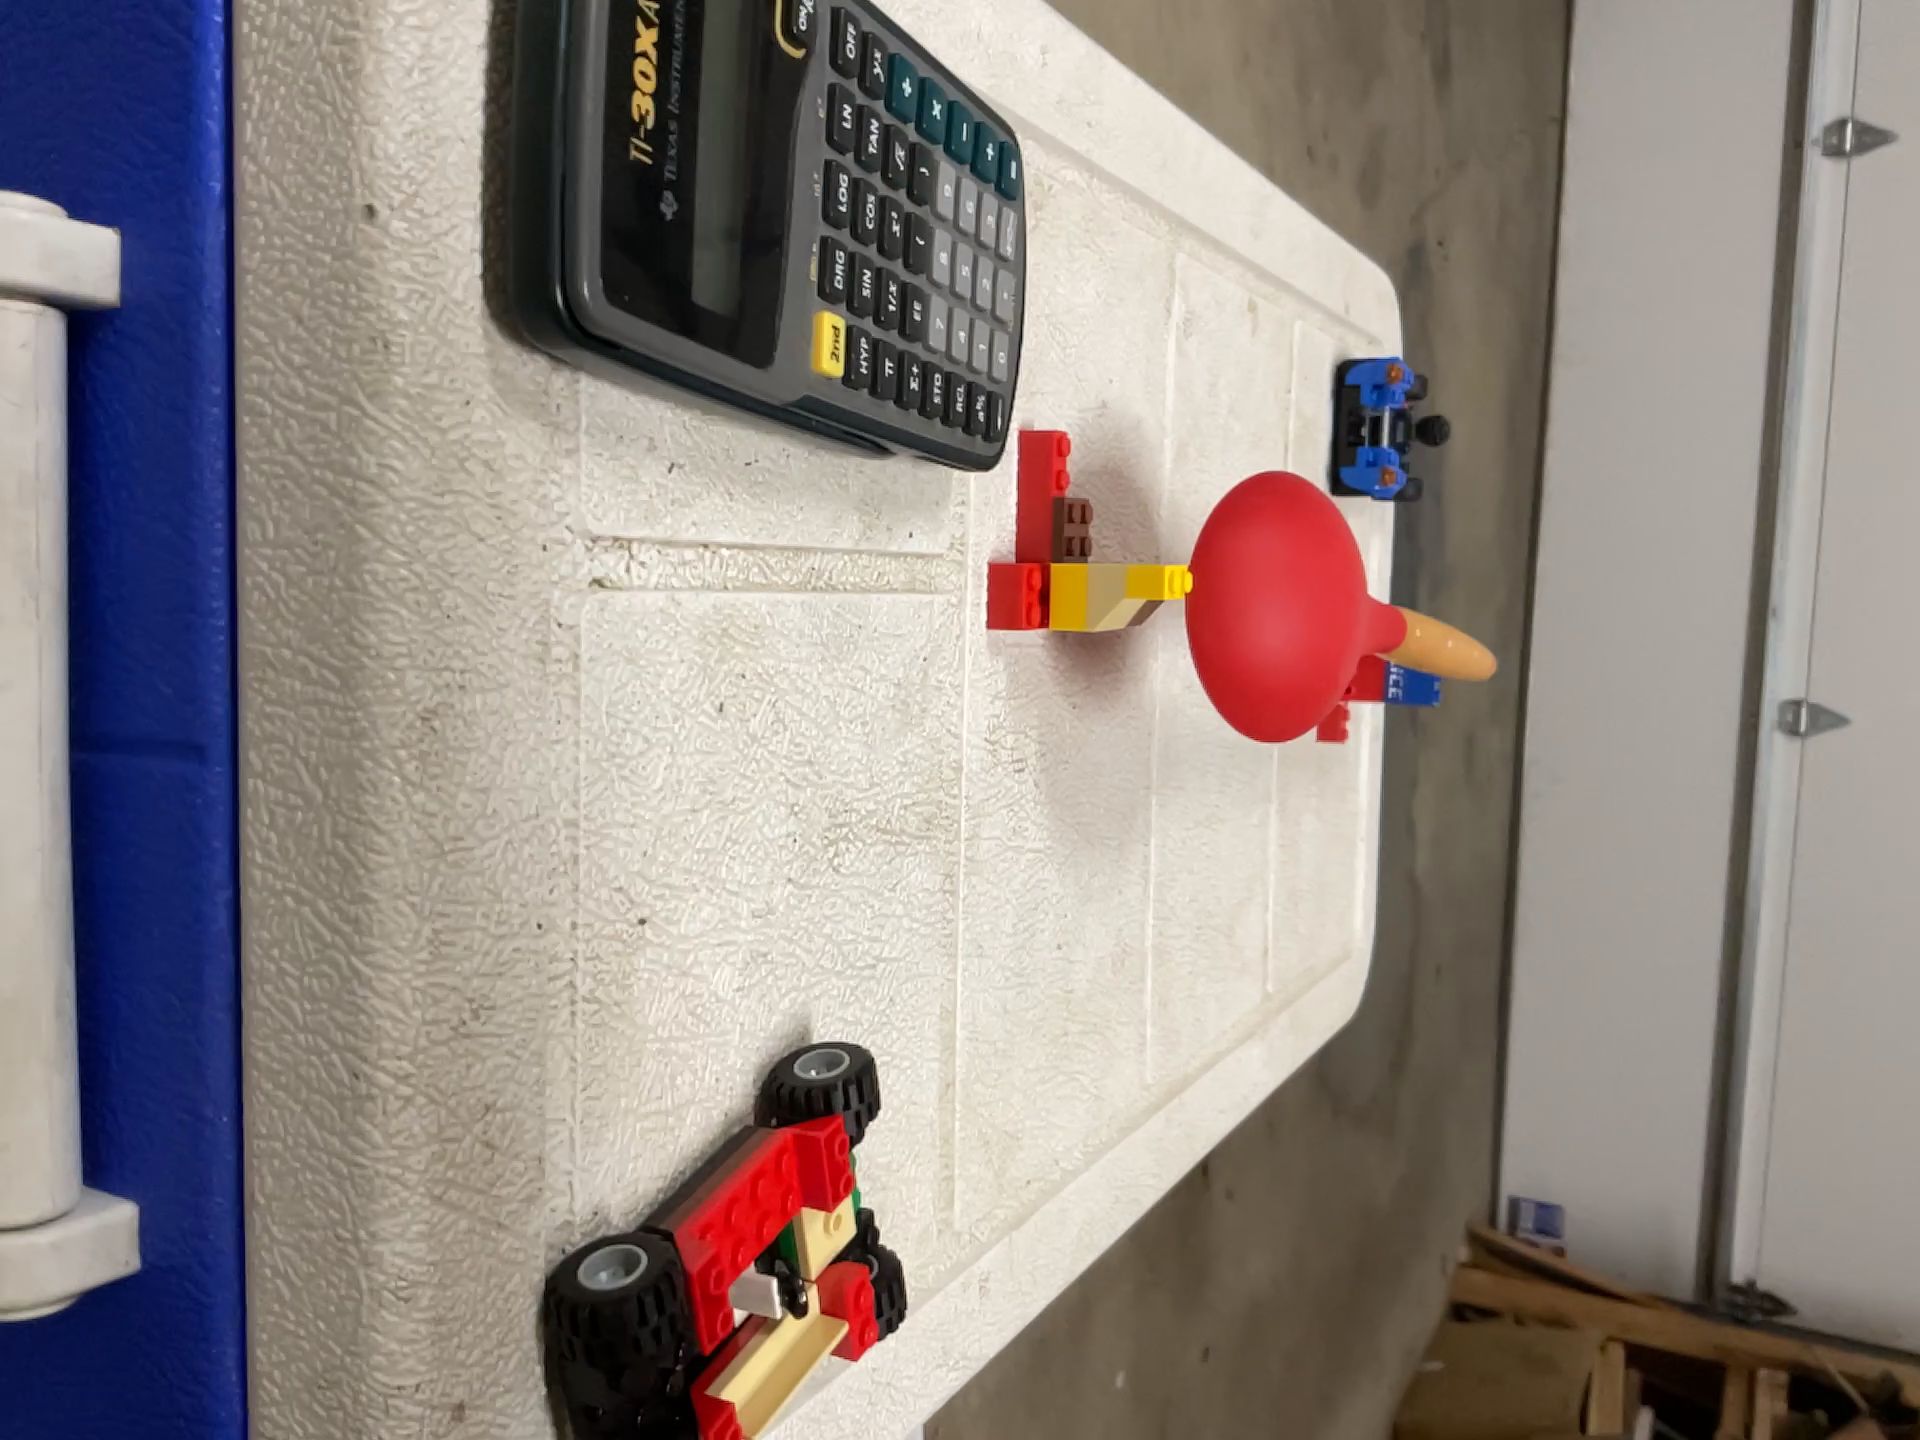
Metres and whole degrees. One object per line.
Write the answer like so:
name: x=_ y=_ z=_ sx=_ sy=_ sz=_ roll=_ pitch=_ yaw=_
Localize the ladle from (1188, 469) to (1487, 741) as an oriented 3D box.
ladle: x=0.138 y=-0.025 z=0.511 sx=0.315 sy=0.031 sz=0.069 roll=4 pitch=89 yaw=-63
